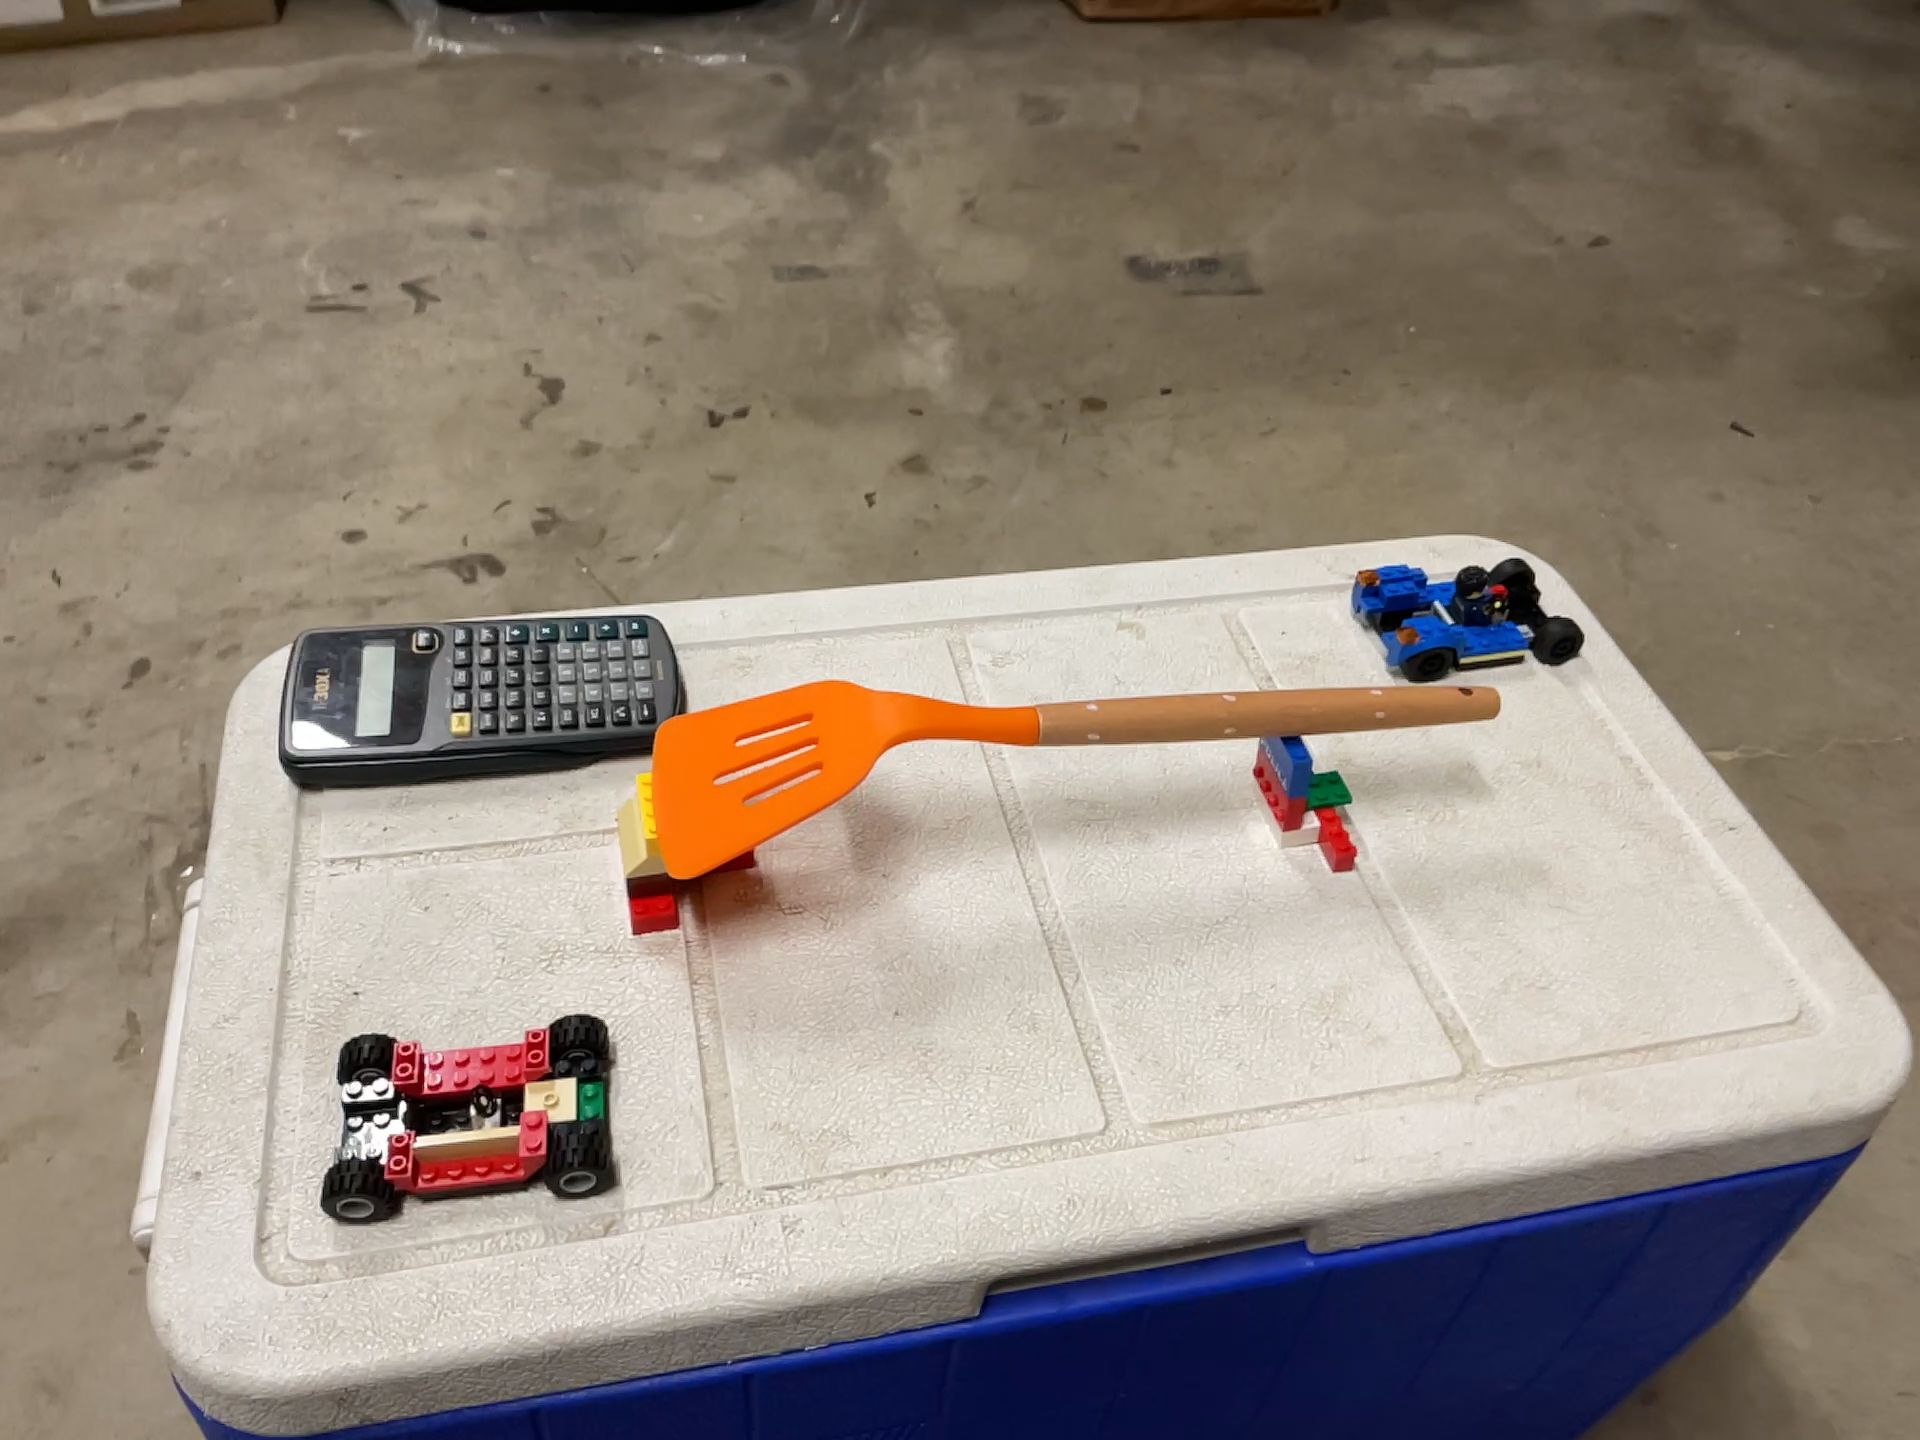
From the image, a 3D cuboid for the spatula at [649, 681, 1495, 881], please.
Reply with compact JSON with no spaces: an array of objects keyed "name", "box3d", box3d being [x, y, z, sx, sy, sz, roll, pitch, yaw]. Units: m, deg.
[{"name":"spatula","box3d":[0.048,0.008,0.593,0.322,0.041,0.081,-3,43,-13]}]
